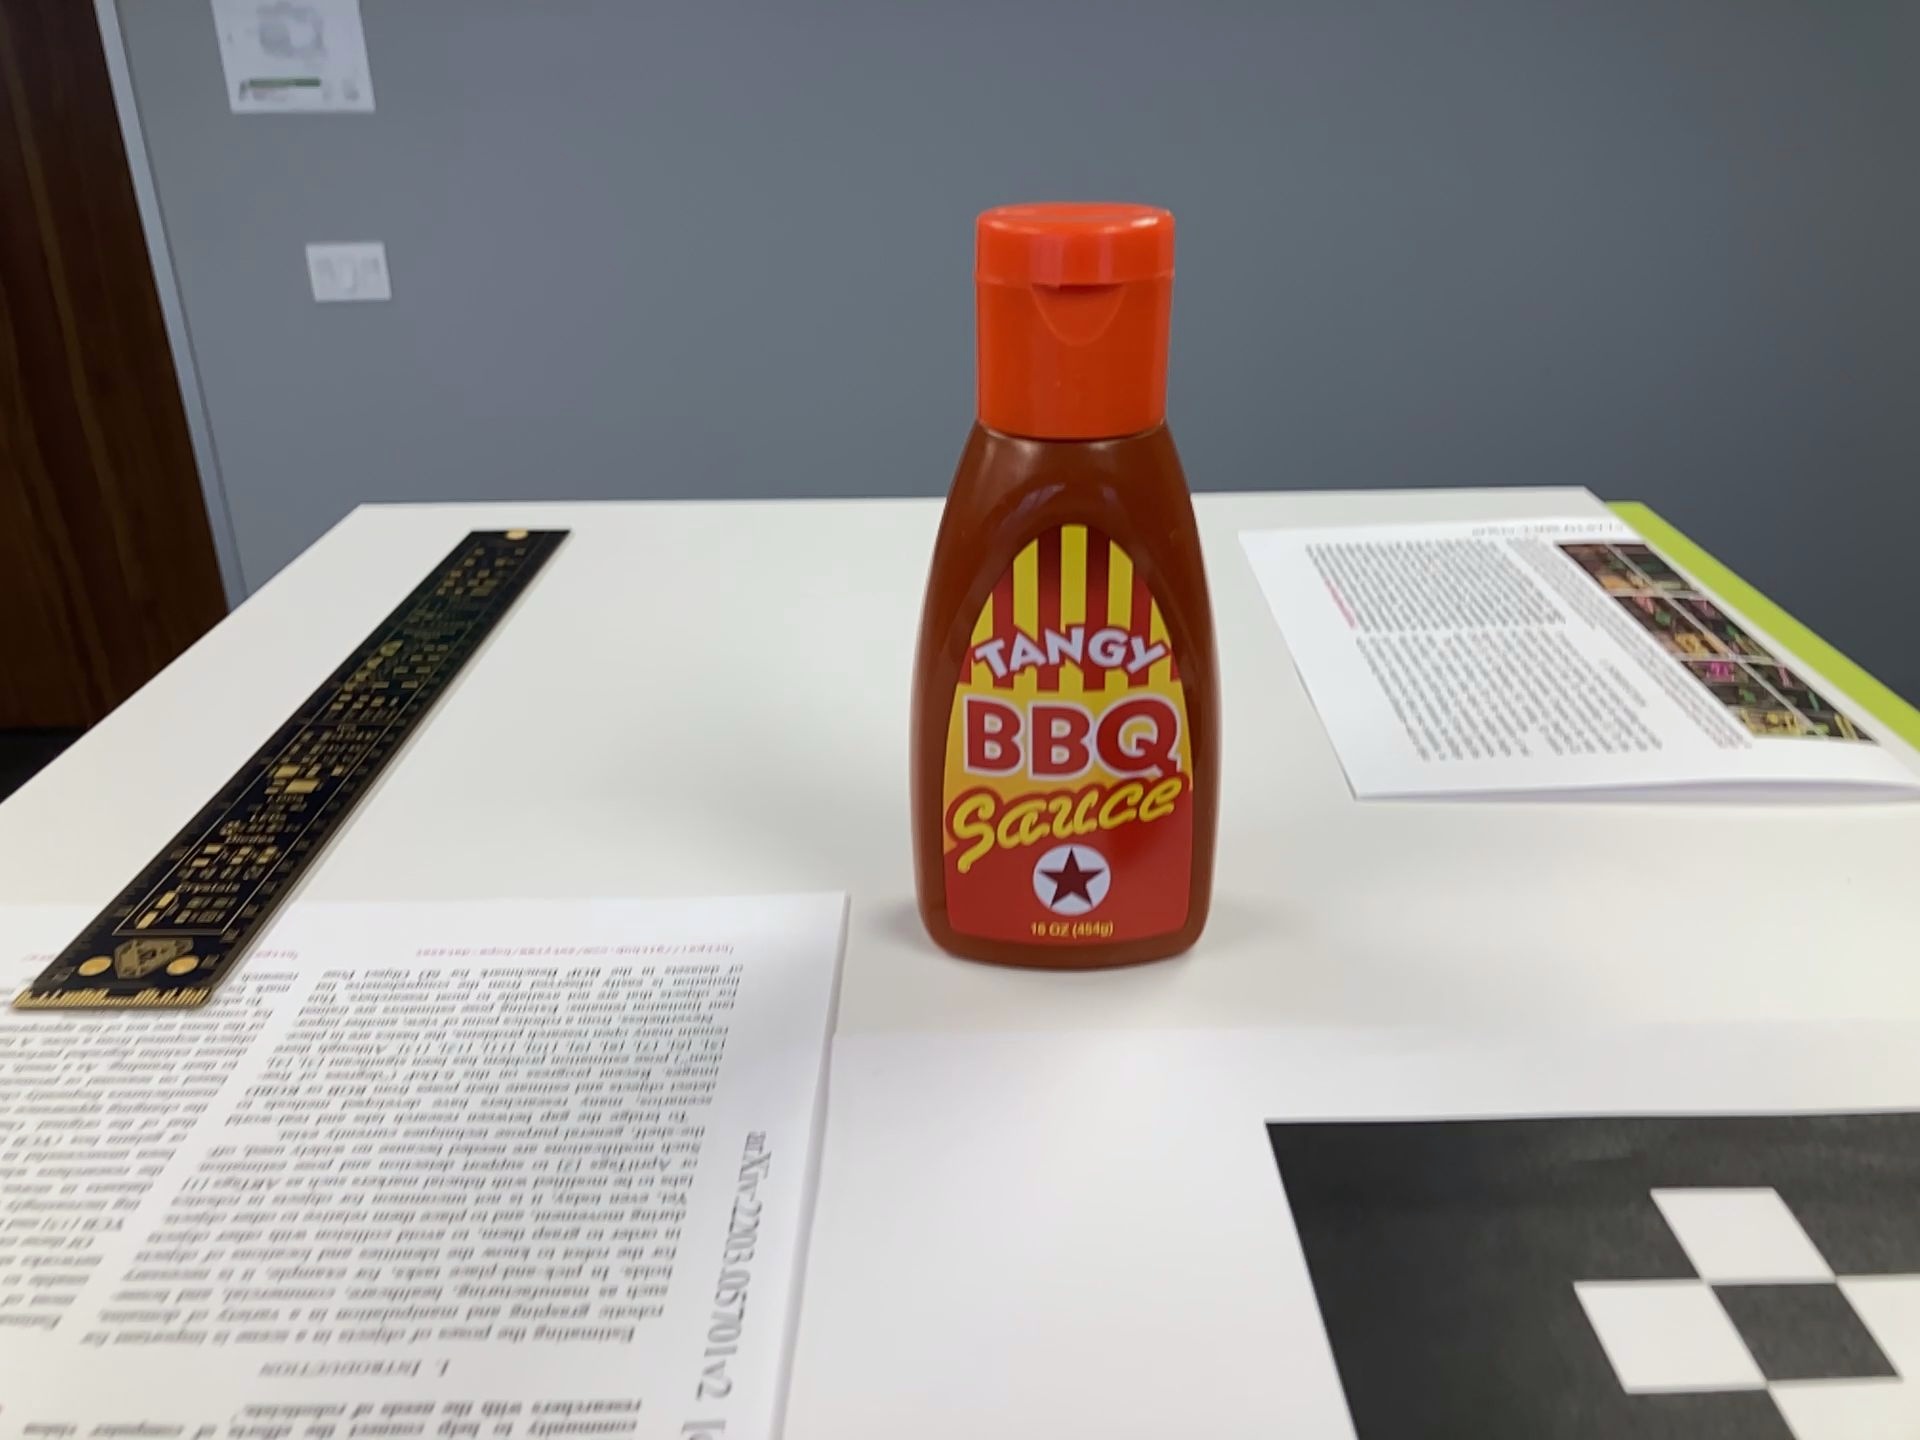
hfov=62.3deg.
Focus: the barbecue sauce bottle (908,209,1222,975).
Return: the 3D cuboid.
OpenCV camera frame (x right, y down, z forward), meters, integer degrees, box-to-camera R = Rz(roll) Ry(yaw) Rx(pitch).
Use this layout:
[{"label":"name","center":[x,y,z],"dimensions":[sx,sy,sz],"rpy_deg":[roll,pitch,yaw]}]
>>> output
[{"label":"barbecue sauce bottle","center":[0.021,-0.023,0.316],"dimensions":[0.065,0.148,0.043],"rpy_deg":[0,23,1]}]
